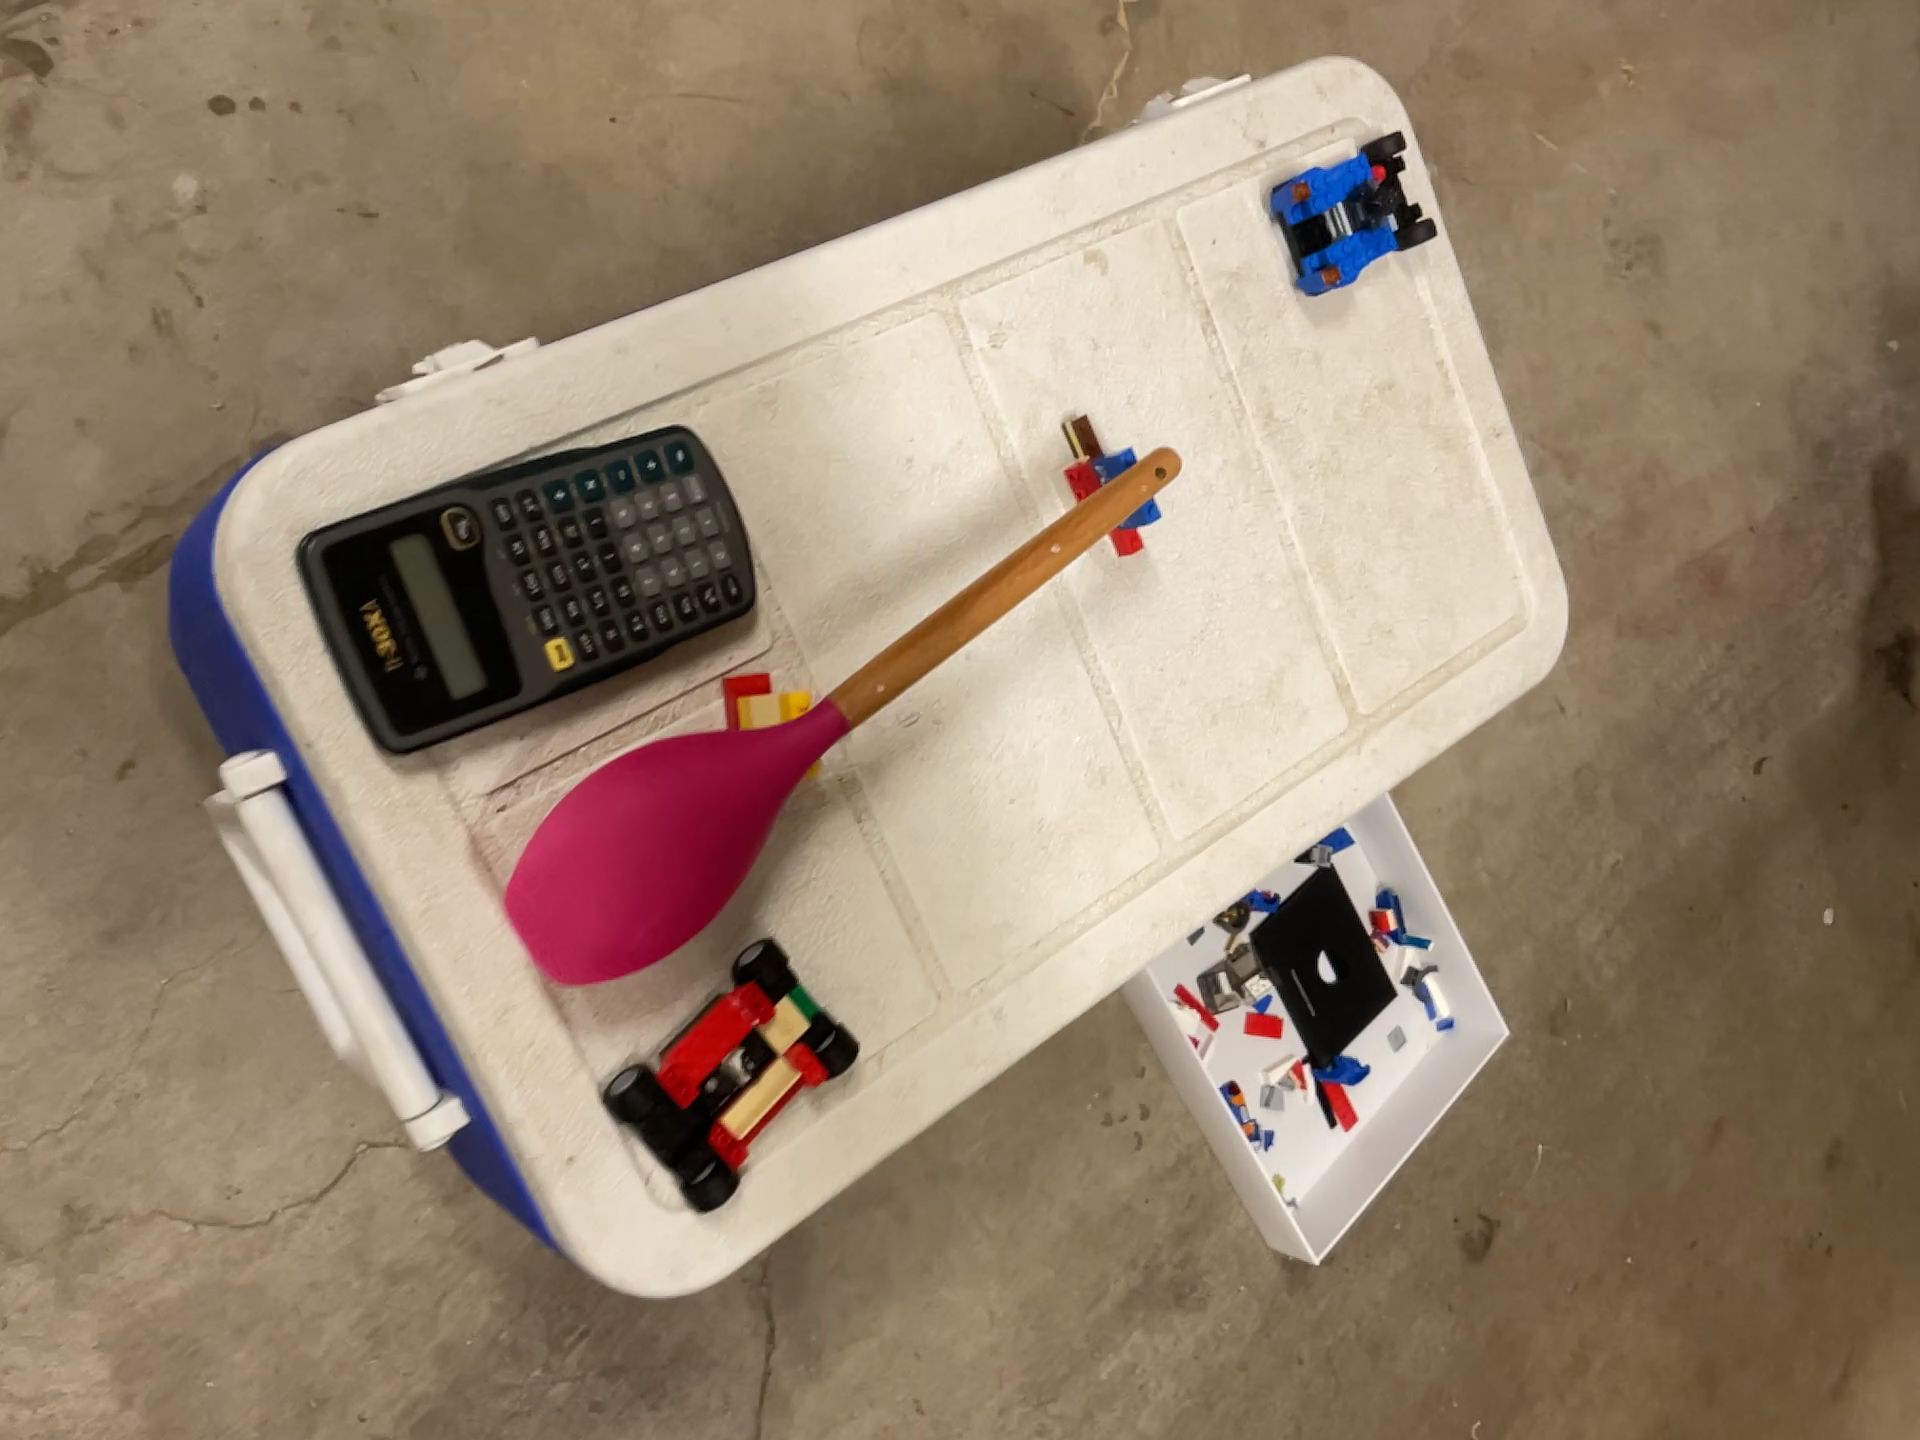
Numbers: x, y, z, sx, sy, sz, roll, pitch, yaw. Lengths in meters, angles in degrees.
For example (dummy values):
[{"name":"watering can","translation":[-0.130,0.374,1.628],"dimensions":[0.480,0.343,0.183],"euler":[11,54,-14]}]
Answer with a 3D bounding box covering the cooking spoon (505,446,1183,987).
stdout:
[{"name":"cooking spoon","translation":[-0.026,-0.017,0.584],"dimensions":[0.319,0.017,0.068],"euler":[-39,112,-25]}]
